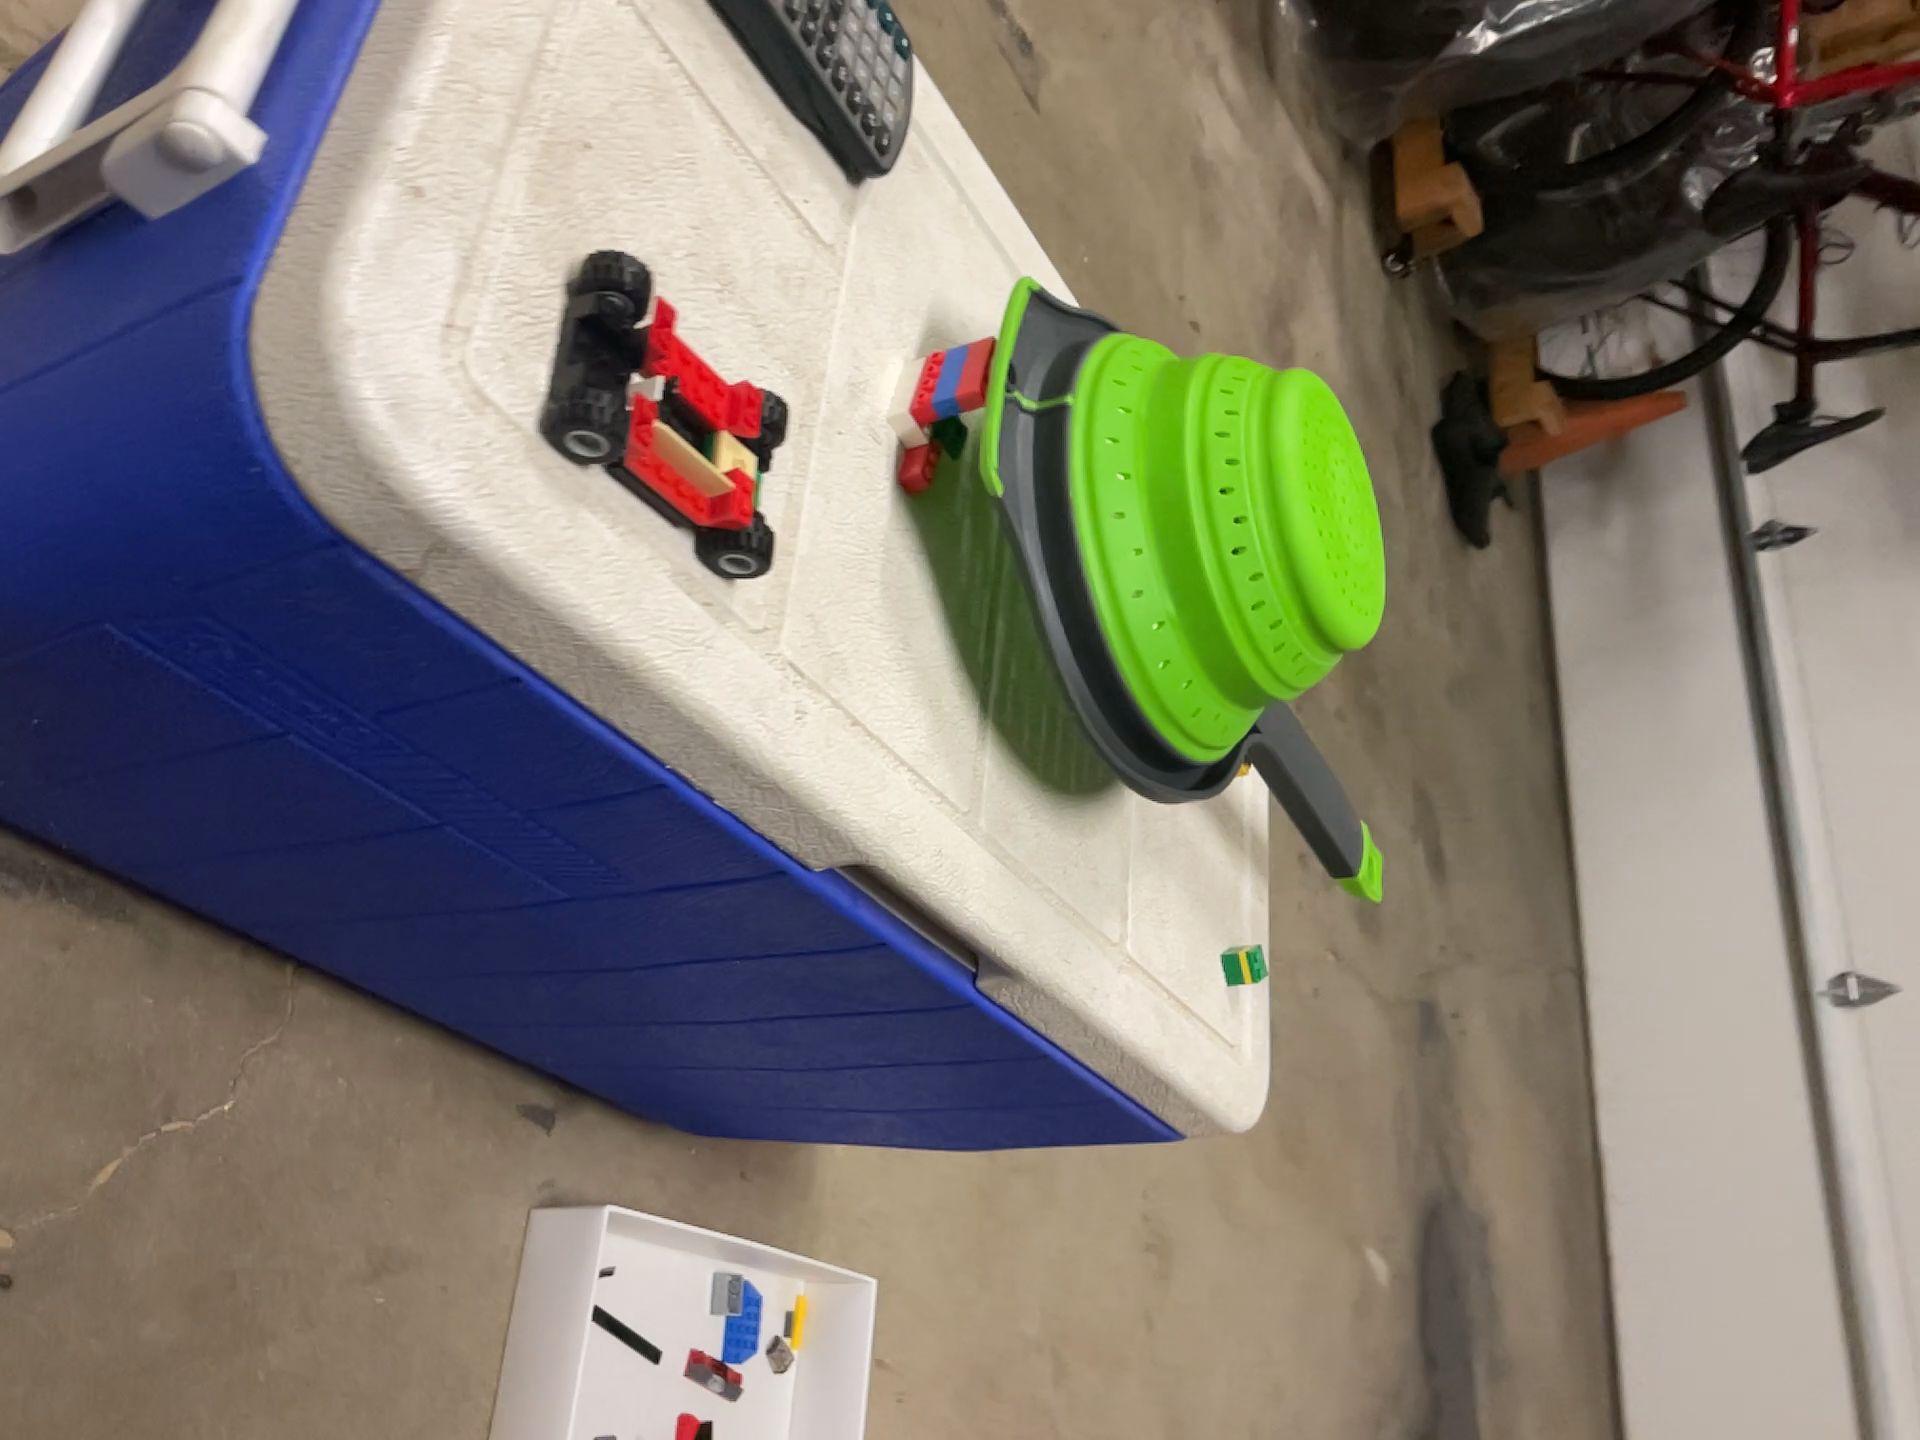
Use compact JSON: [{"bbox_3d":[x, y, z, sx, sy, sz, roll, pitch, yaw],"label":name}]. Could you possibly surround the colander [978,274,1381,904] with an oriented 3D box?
[{"bbox_3d":[0.145,-0.029,0.680,0.396,0.094,0.205,48,42,-43],"label":"colander"}]
